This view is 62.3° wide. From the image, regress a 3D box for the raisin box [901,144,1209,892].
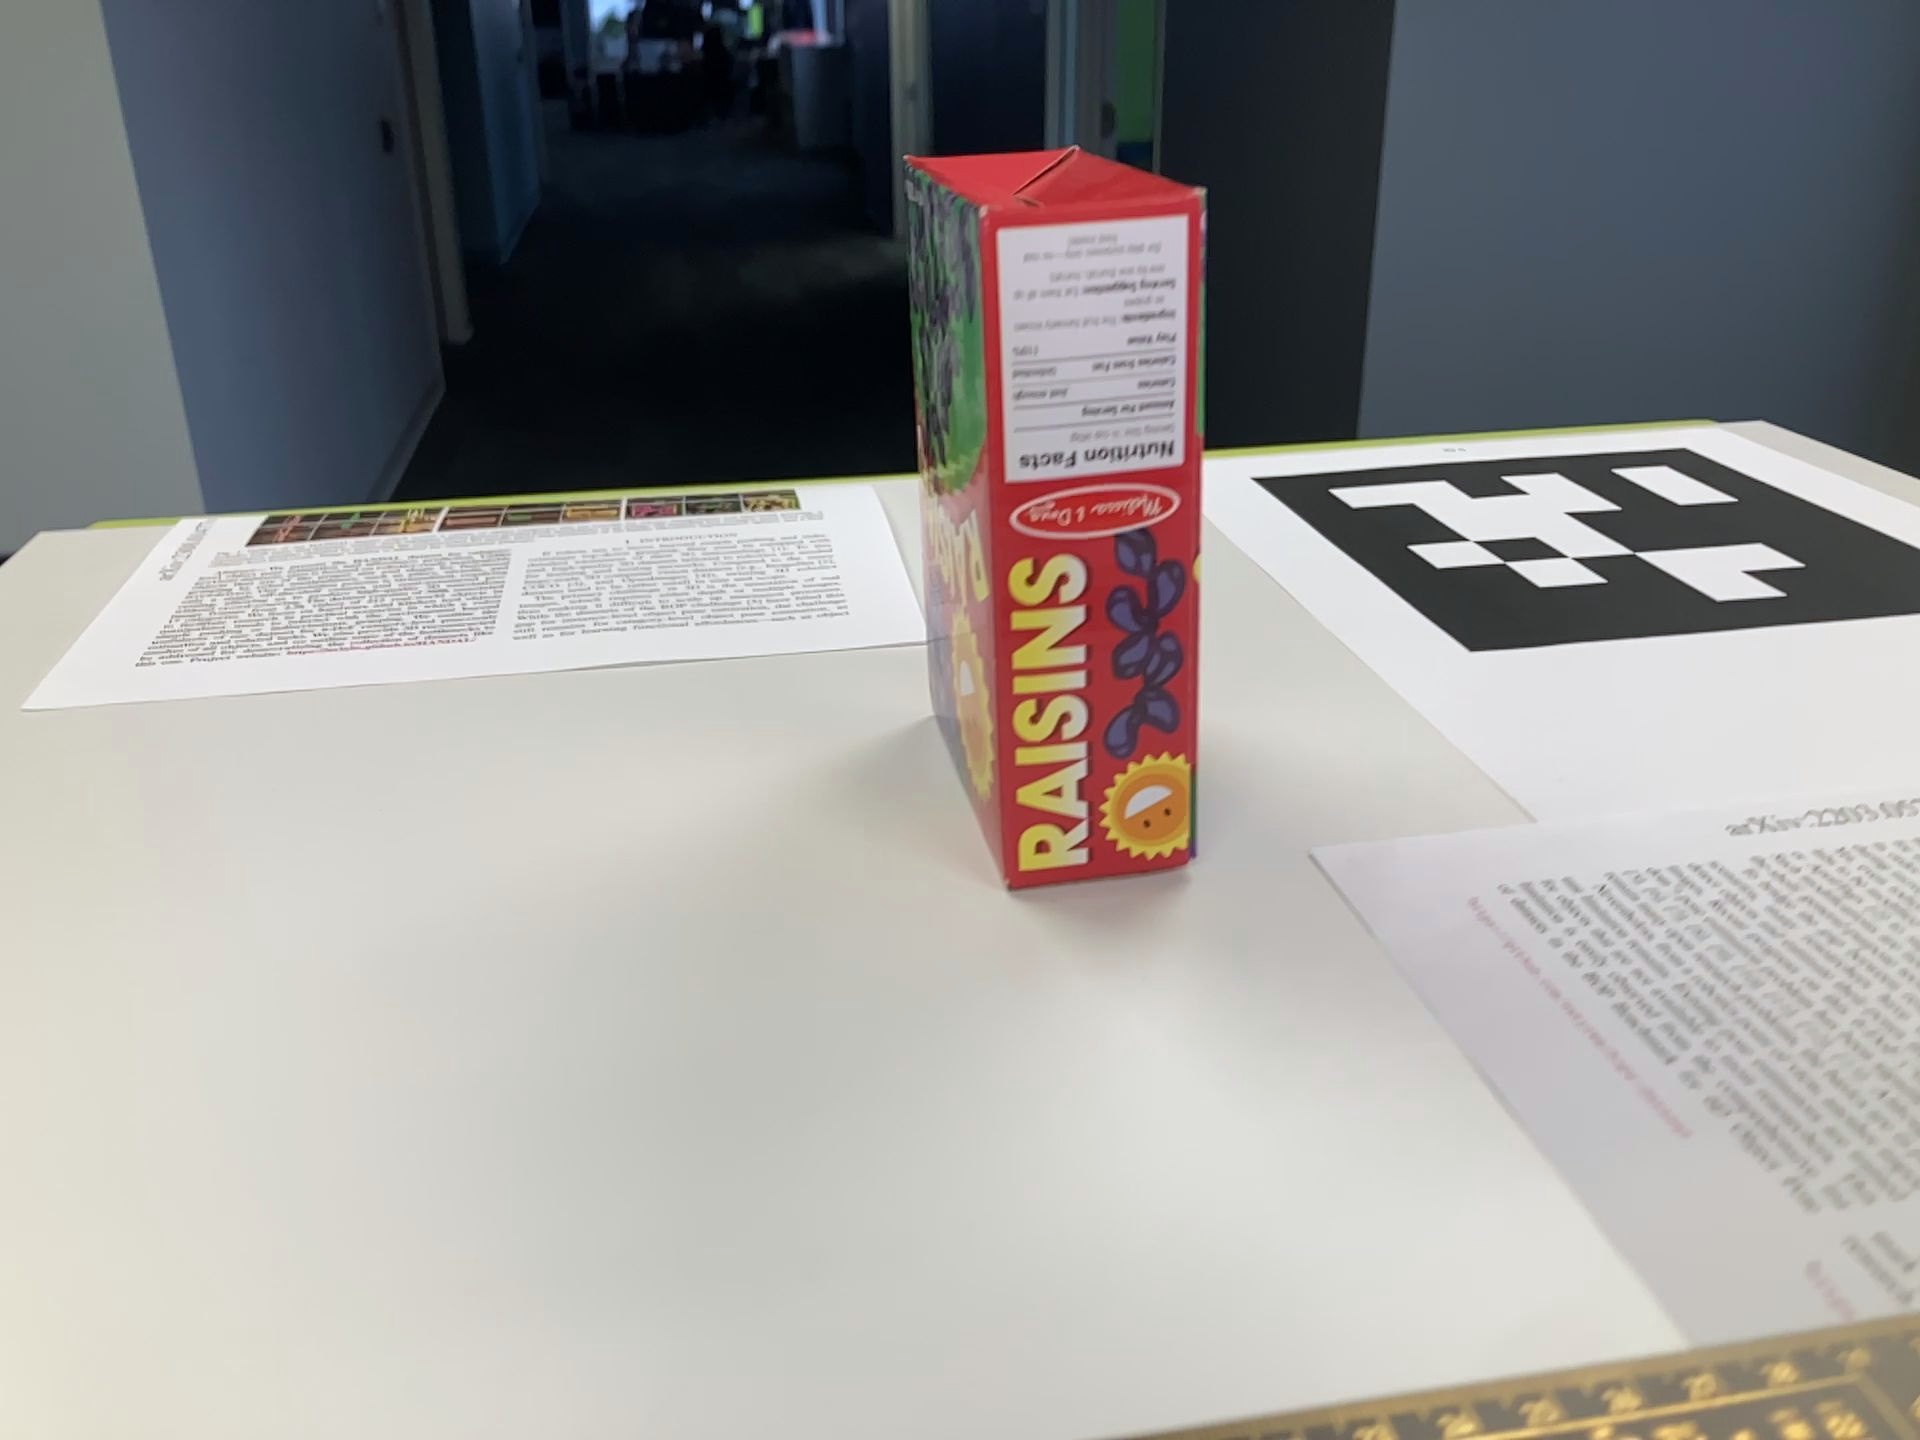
[{"bbox_3d":[0.017,-0.042,0.306,0.040,0.123,0.086,-7,25,-9],"label":"raisin box"}]
